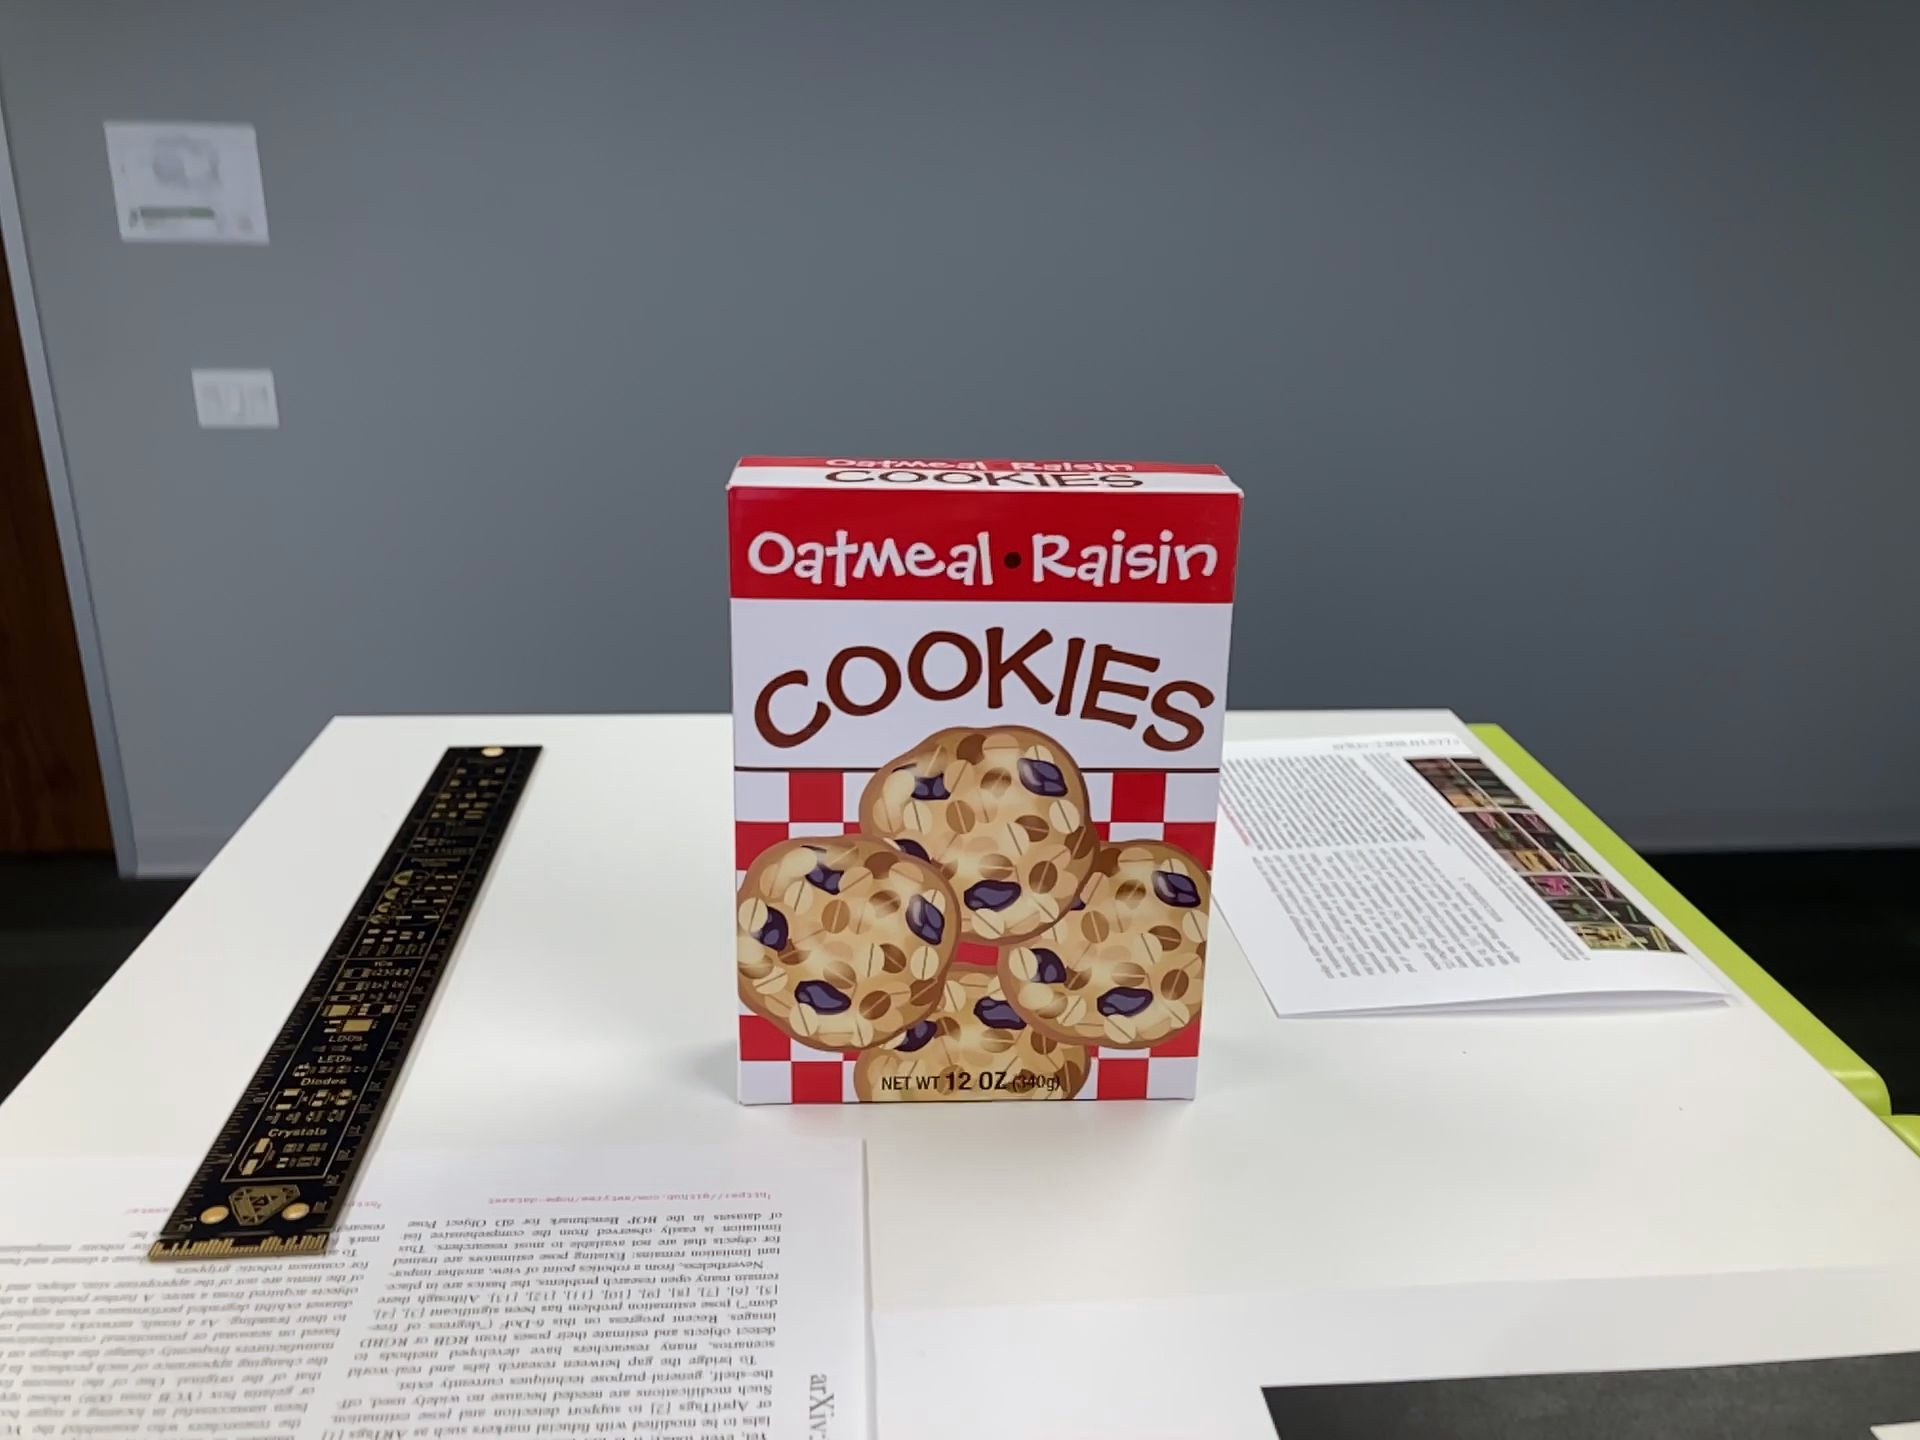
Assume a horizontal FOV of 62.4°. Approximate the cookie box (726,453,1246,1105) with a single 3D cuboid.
[{"bbox_3d":[0.004,0.017,0.411,0.123,0.167,0.040,0,19,-3],"label":"cookie box"}]
